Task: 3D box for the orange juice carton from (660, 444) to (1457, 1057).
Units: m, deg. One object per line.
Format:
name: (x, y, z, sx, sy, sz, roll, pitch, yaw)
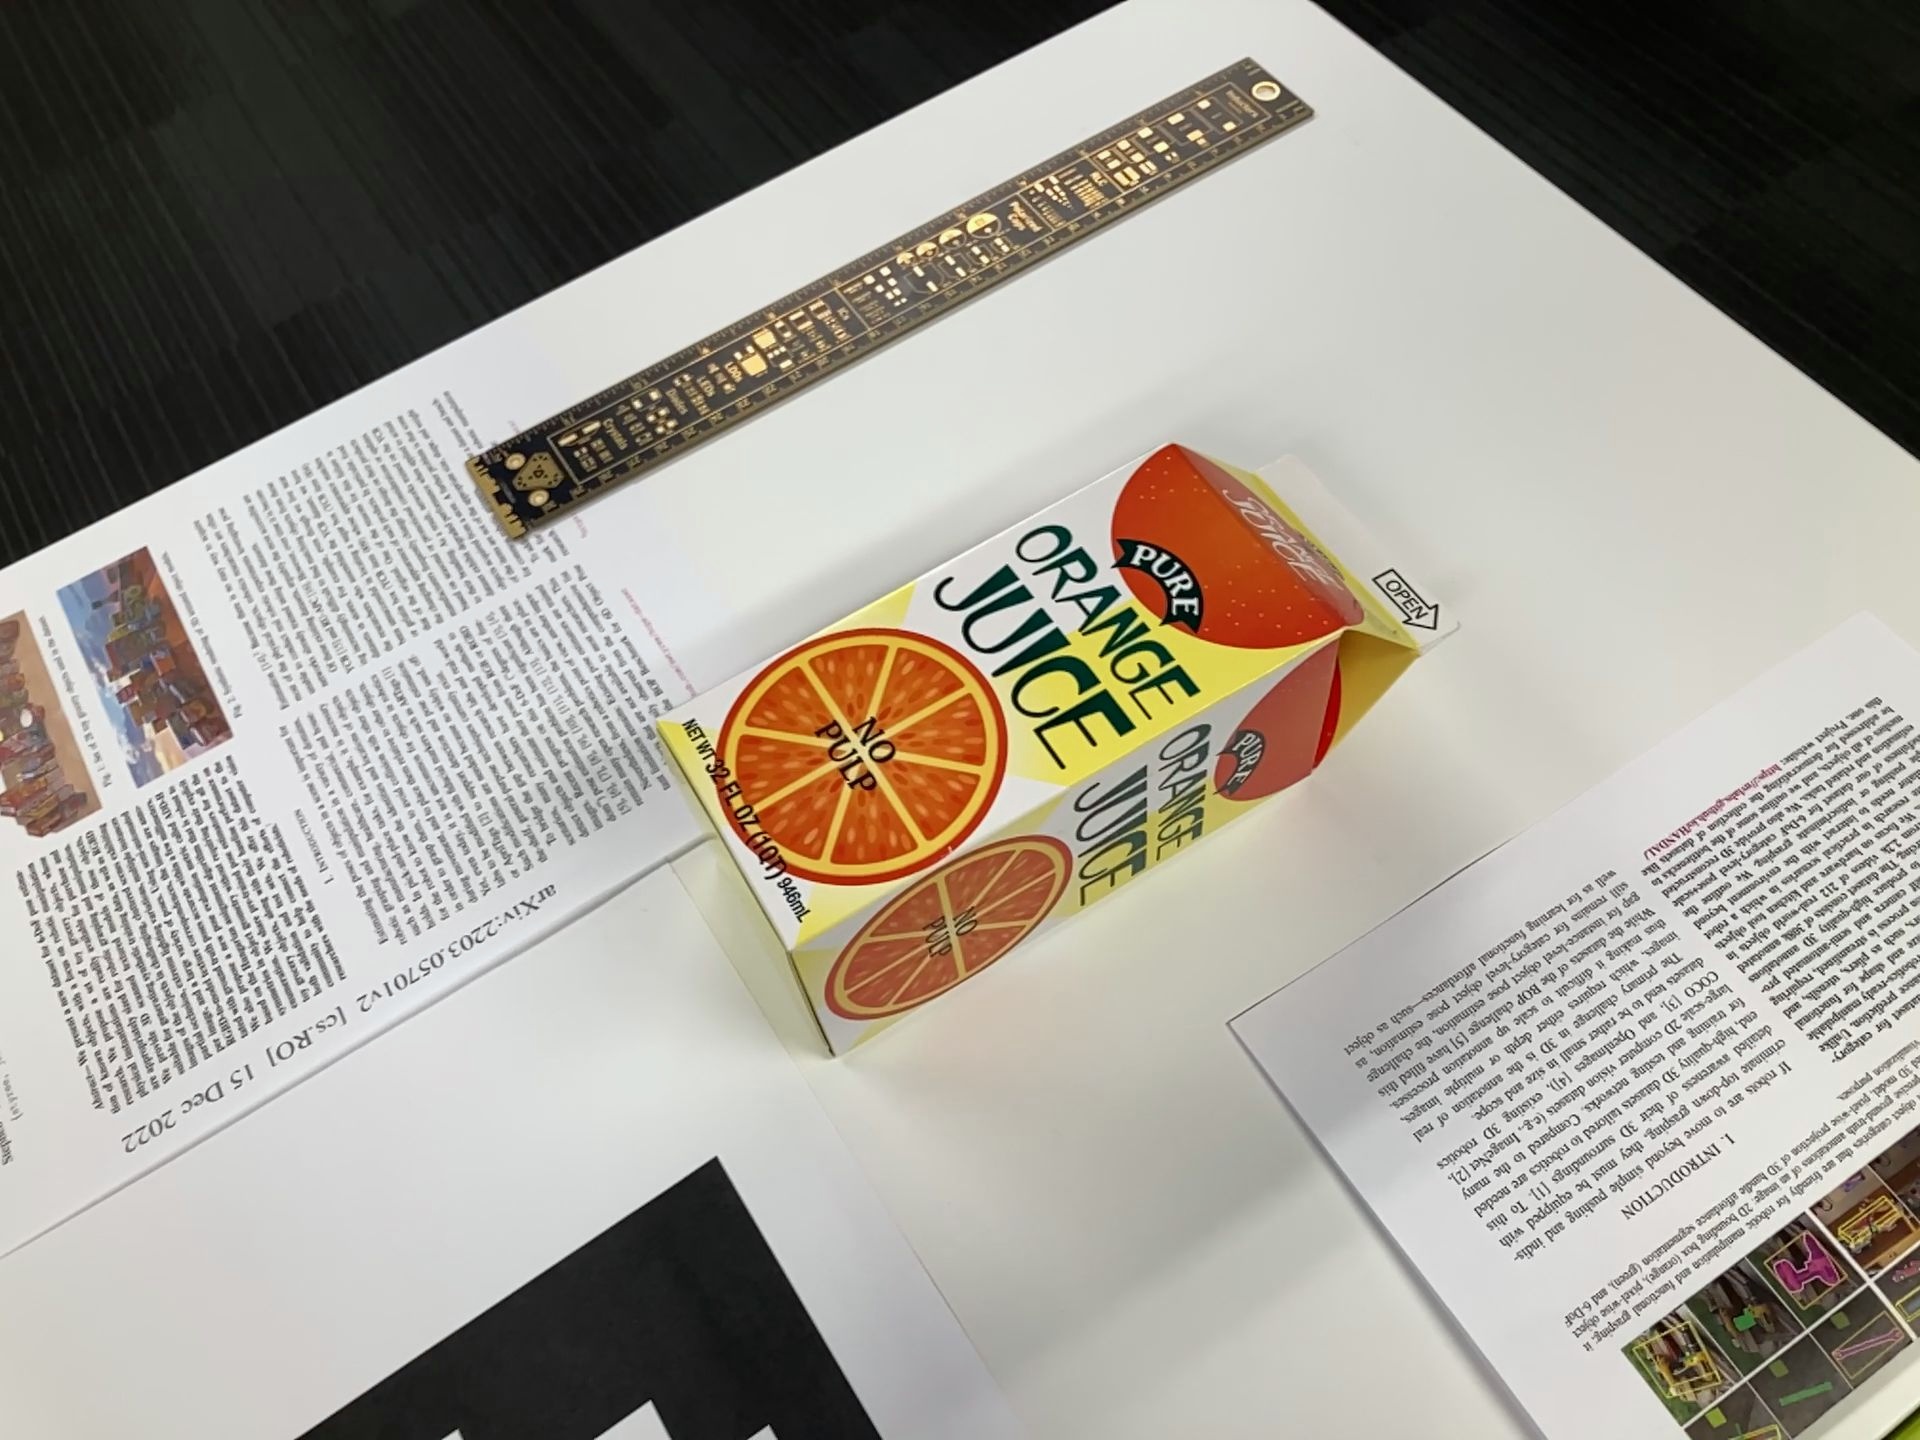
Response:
orange juice carton: (0.029, -0.002, 0.409, 0.192, 0.073, 0.072, -30, 61, -11)
